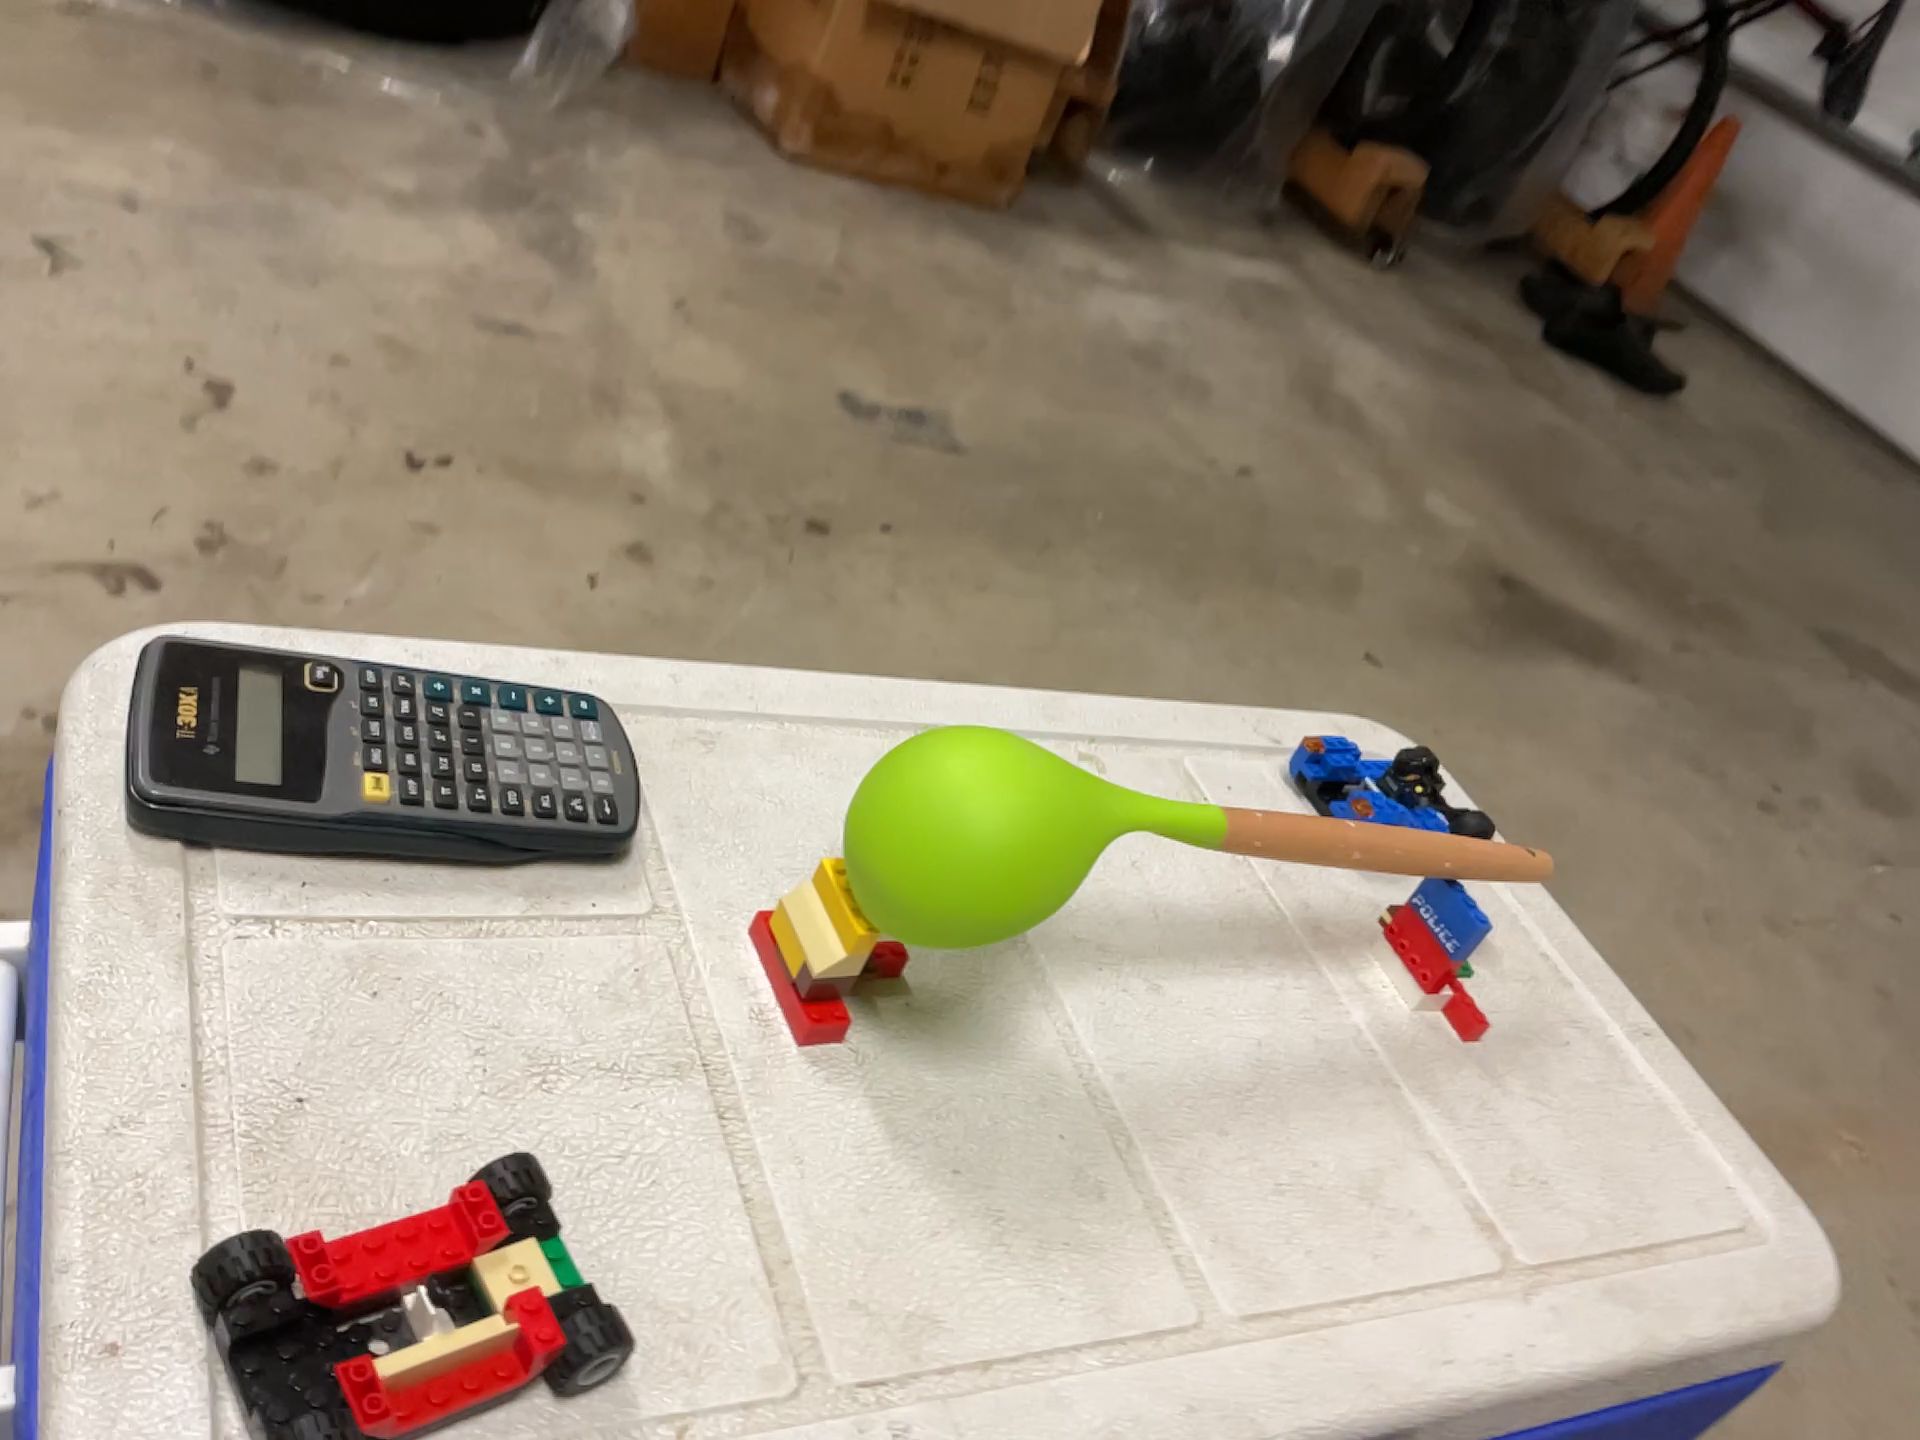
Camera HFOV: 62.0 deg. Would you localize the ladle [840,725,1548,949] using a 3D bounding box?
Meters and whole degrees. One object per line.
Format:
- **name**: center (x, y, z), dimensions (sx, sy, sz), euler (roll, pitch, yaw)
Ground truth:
- **ladle**: center (0.101, 0.050, 0.563), dimensions (0.320, 0.062, 0.078), euler (9, 30, -36)
